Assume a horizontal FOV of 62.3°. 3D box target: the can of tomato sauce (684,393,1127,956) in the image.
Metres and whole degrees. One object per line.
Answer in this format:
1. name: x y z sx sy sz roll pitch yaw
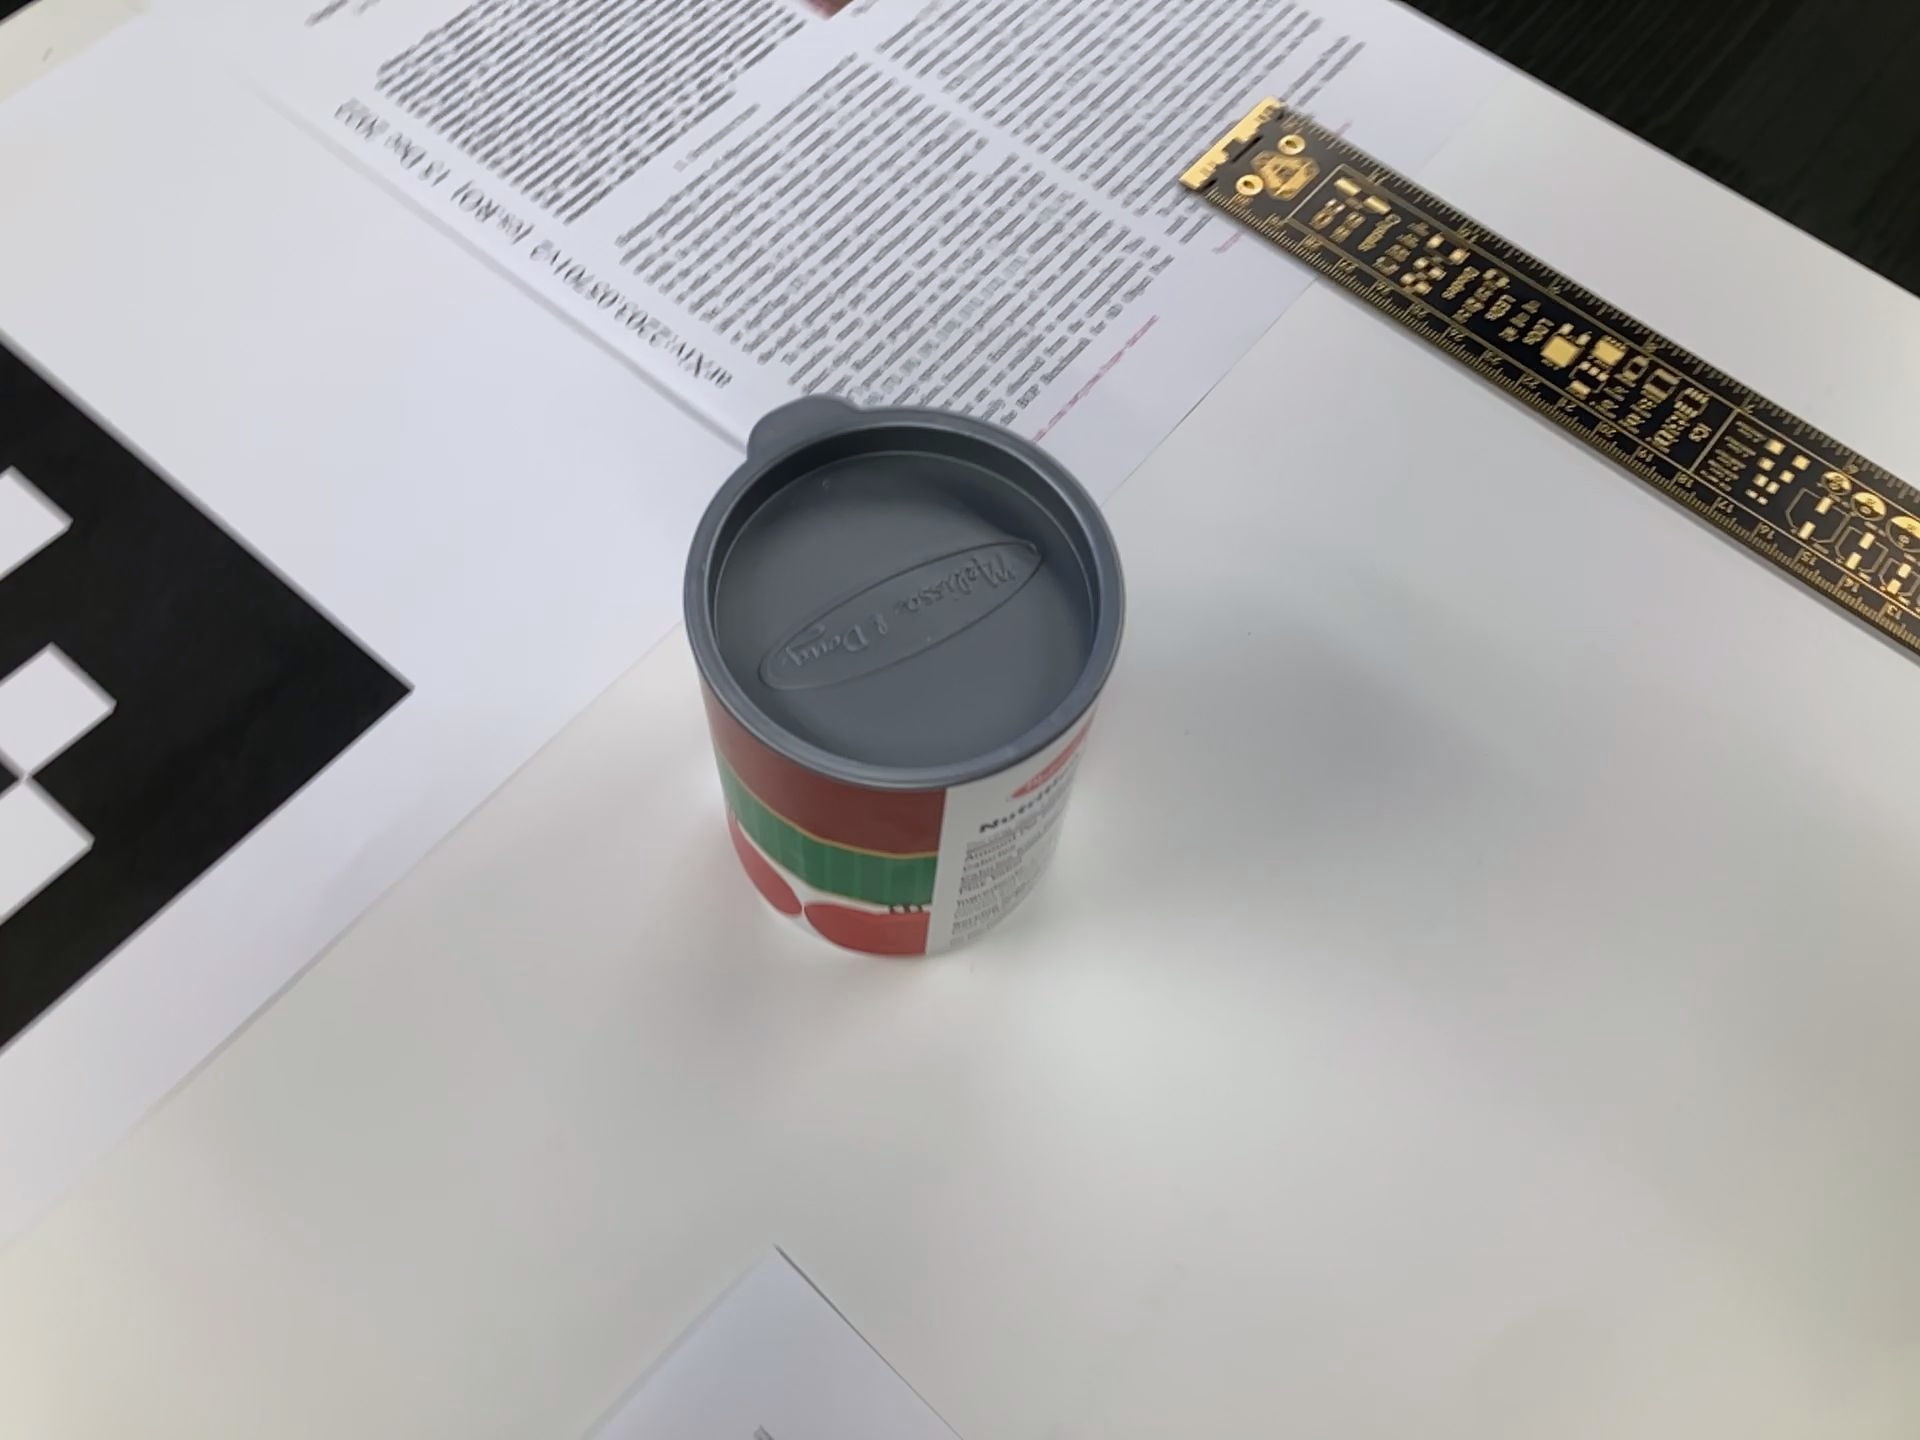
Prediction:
1. can of tomato sauce: -0.012 -0.004 0.274 0.071 0.083 0.071 2 64 -3
